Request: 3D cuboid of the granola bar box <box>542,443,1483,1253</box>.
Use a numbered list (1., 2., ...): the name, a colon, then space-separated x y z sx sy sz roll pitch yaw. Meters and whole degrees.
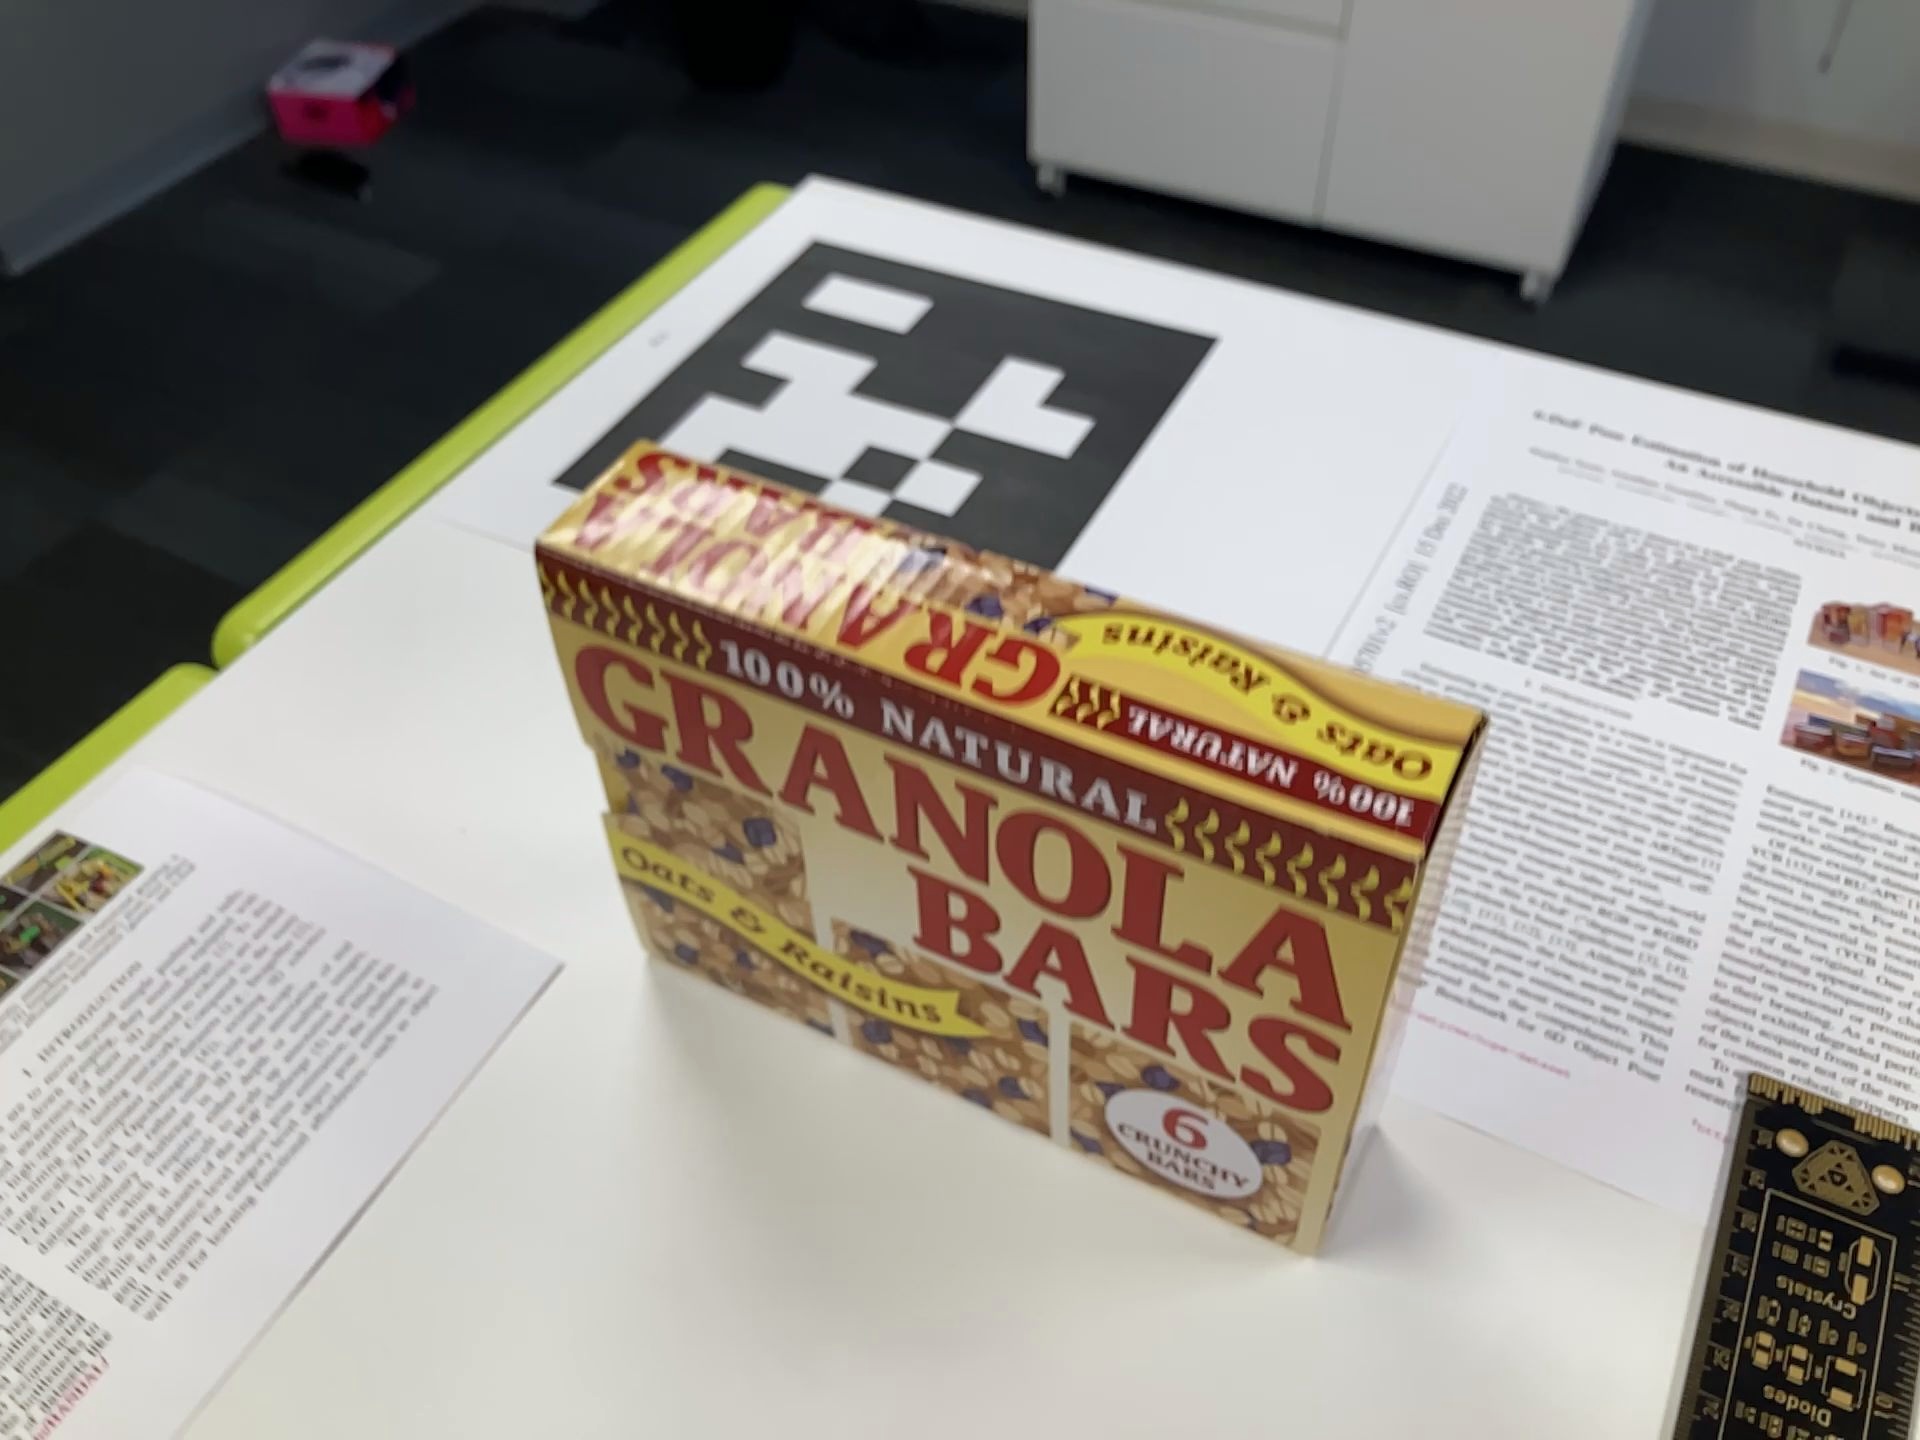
1. granola bar box: 0.004 0.027 0.314 0.165 0.124 0.039 20 49 20
